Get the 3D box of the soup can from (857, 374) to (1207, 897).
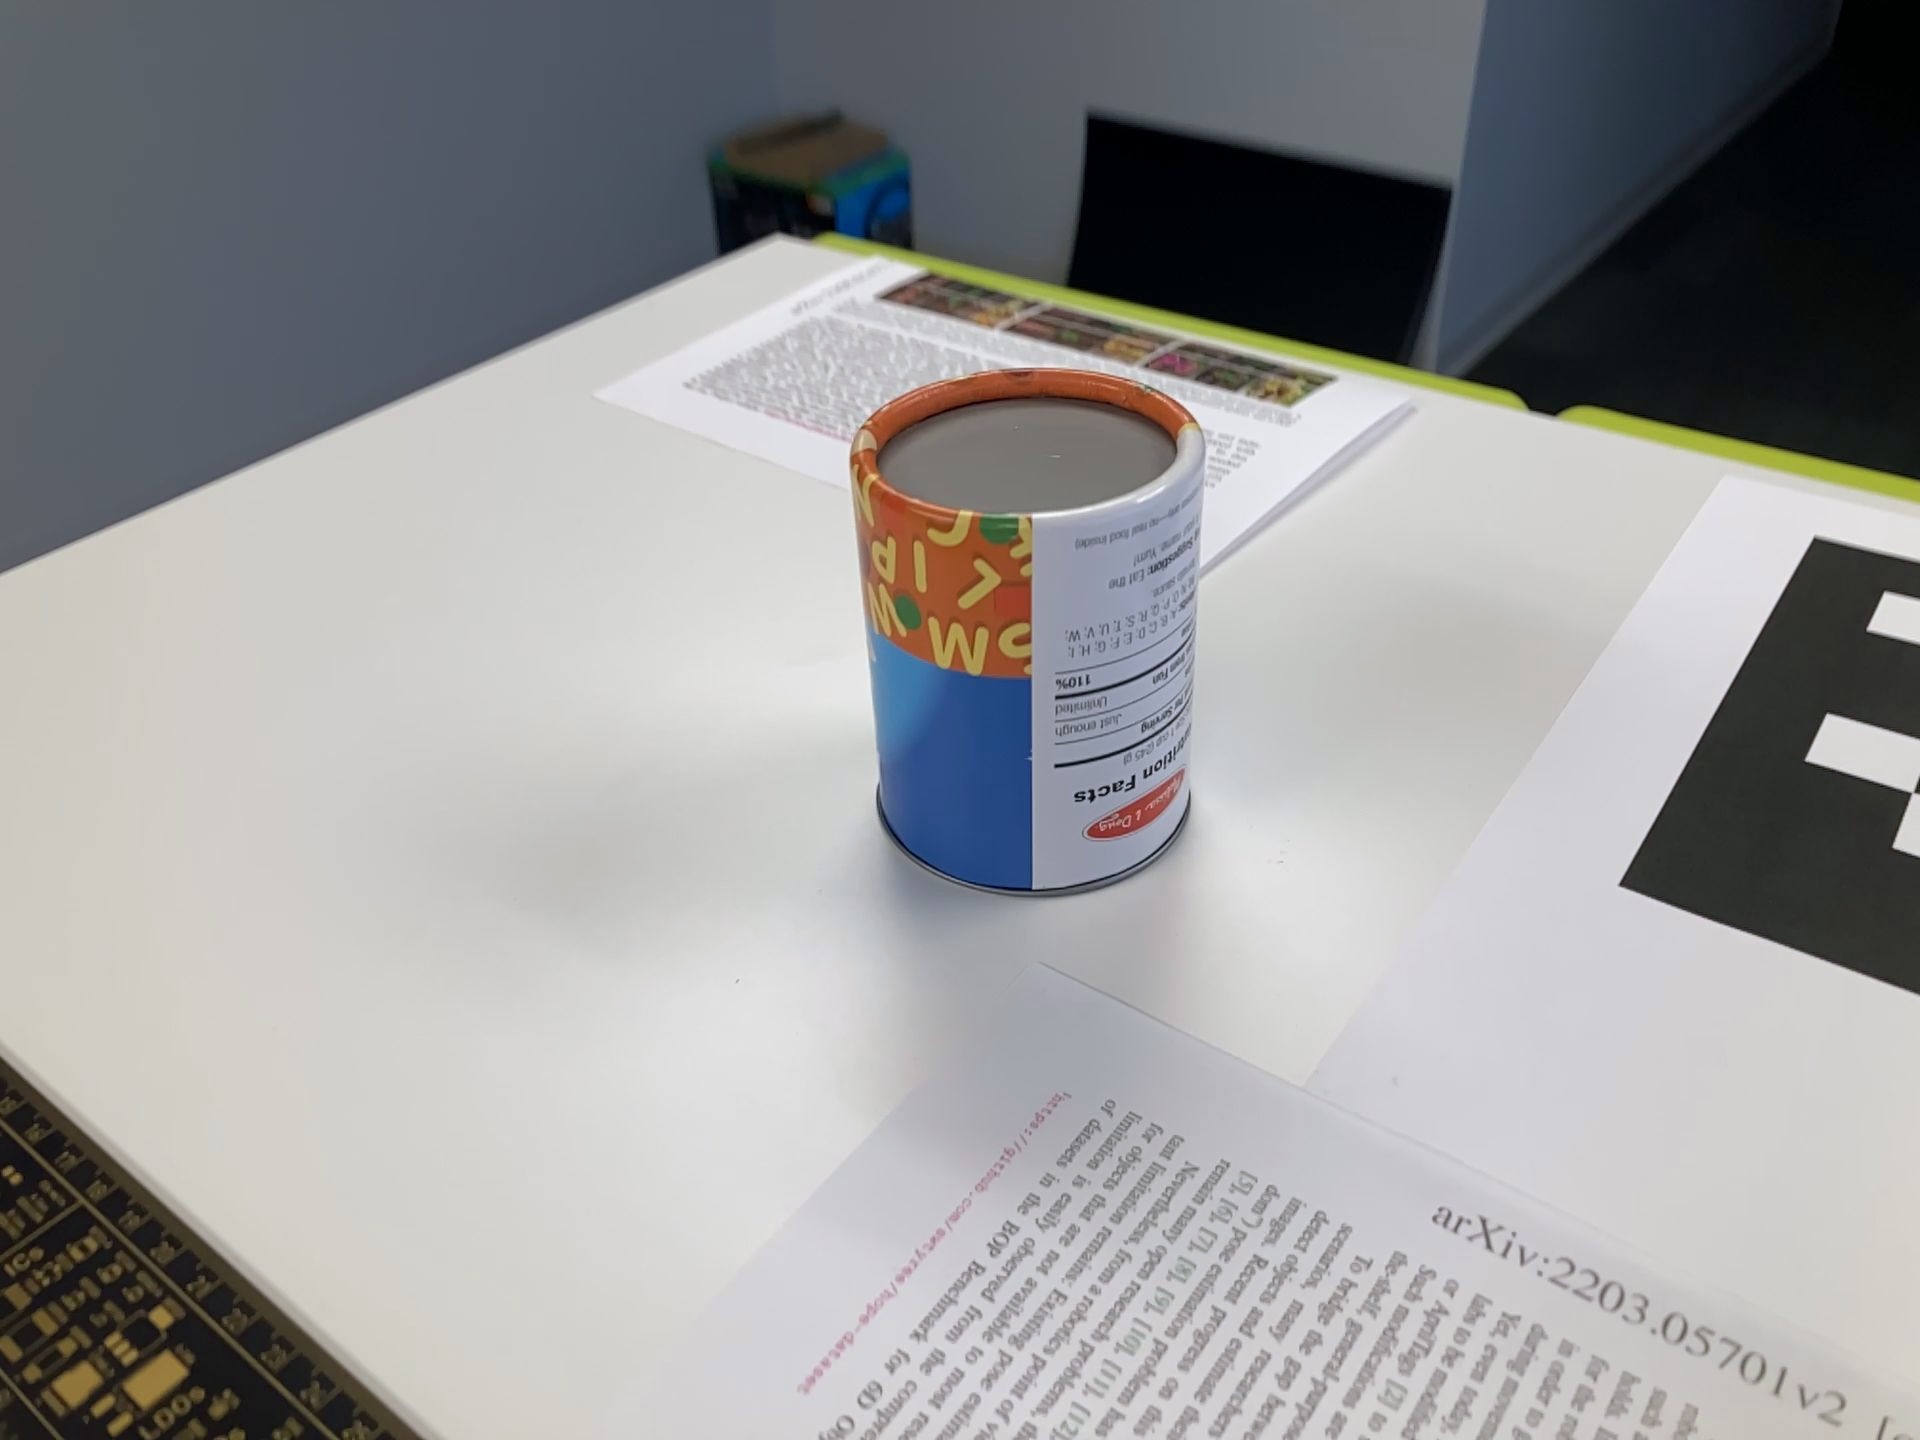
[{"bbox_3d":[0.012,-0.019,0.318,0.071,0.084,0.071,-2,35,1],"label":"soup can"}]
